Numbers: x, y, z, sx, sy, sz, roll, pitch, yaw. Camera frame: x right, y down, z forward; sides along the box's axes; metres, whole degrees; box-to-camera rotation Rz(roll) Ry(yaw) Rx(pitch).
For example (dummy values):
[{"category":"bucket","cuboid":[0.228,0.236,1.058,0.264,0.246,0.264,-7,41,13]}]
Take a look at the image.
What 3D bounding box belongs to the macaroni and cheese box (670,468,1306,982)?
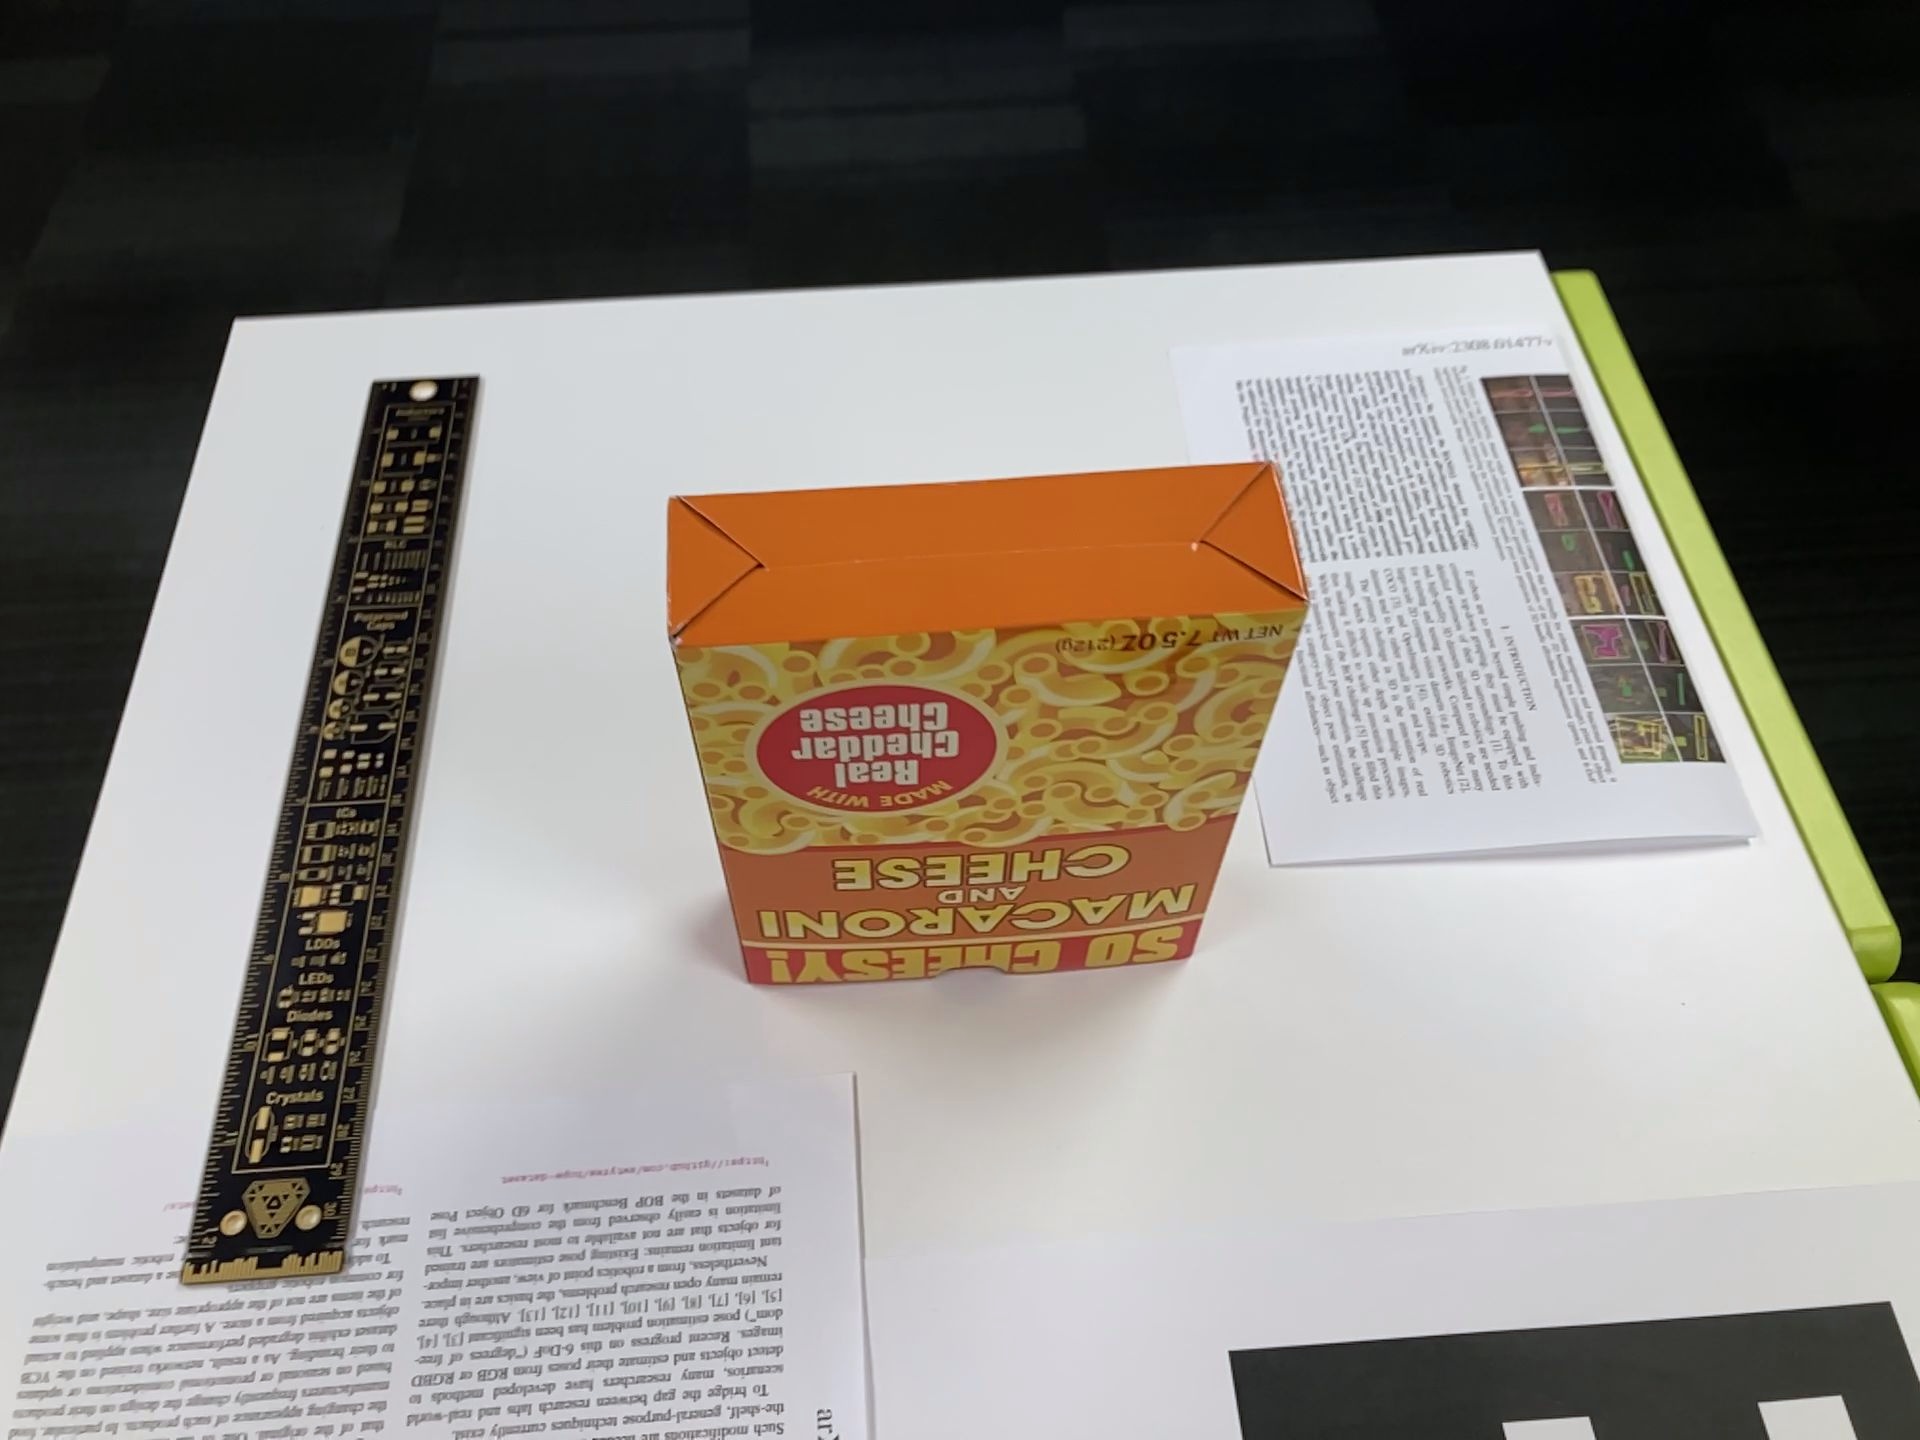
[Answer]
[{"category":"macaroni and cheese box","cuboid":[0.002,0.012,0.380,0.124,0.166,0.040,-3,57,-3]}]
